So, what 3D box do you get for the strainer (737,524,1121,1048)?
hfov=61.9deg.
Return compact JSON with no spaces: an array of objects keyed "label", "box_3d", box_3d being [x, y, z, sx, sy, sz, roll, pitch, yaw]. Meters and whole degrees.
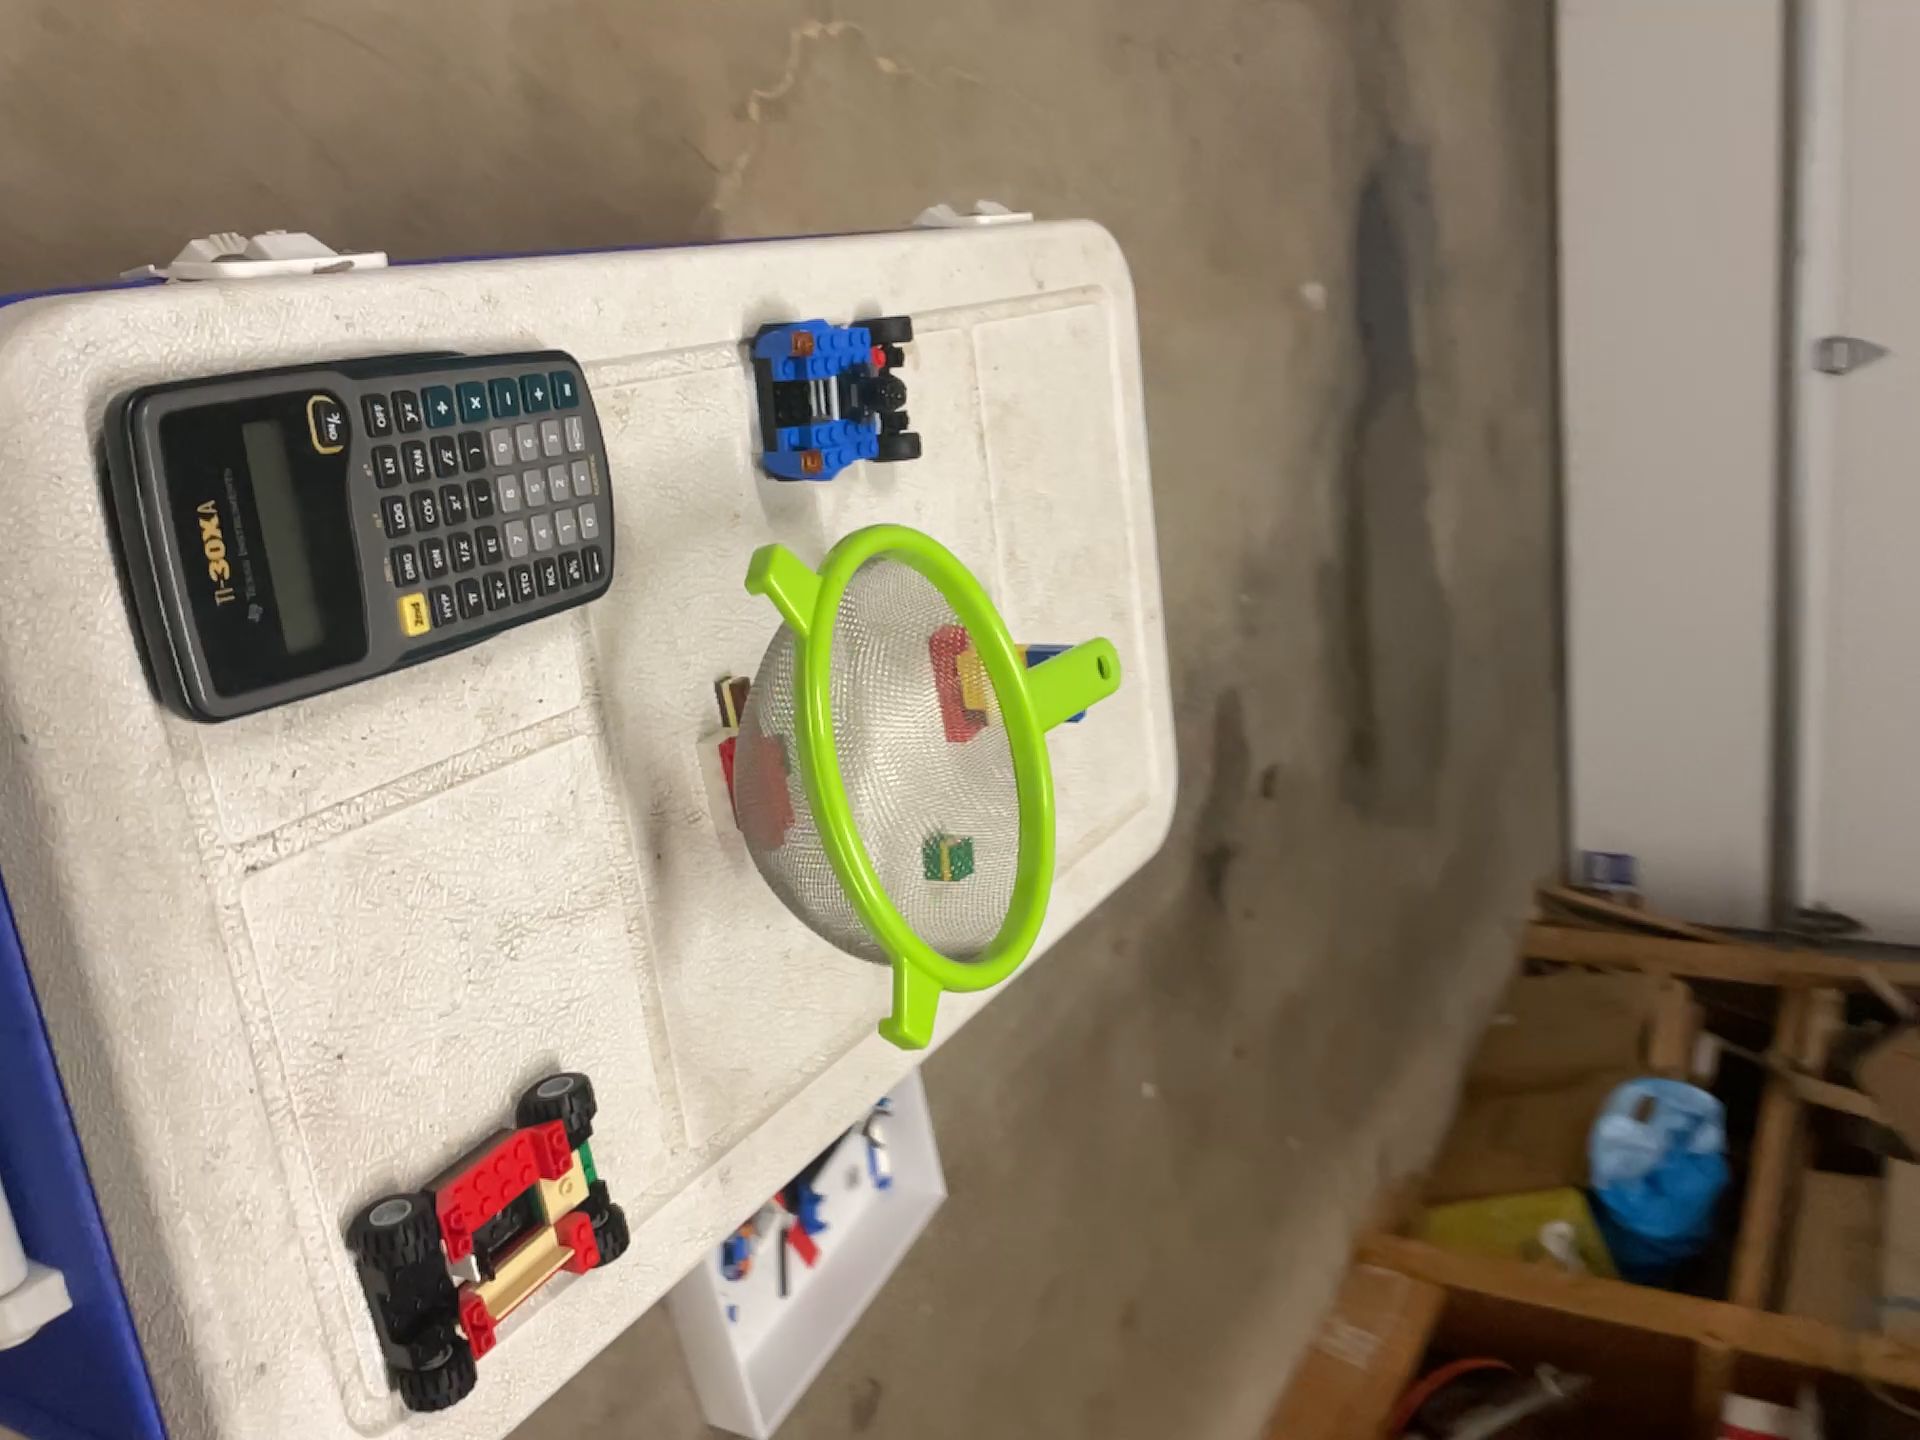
[{"label":"strainer","box_3d":[-0.010,0.006,0.569,0.257,0.069,0.151,-27,101,-64]}]
